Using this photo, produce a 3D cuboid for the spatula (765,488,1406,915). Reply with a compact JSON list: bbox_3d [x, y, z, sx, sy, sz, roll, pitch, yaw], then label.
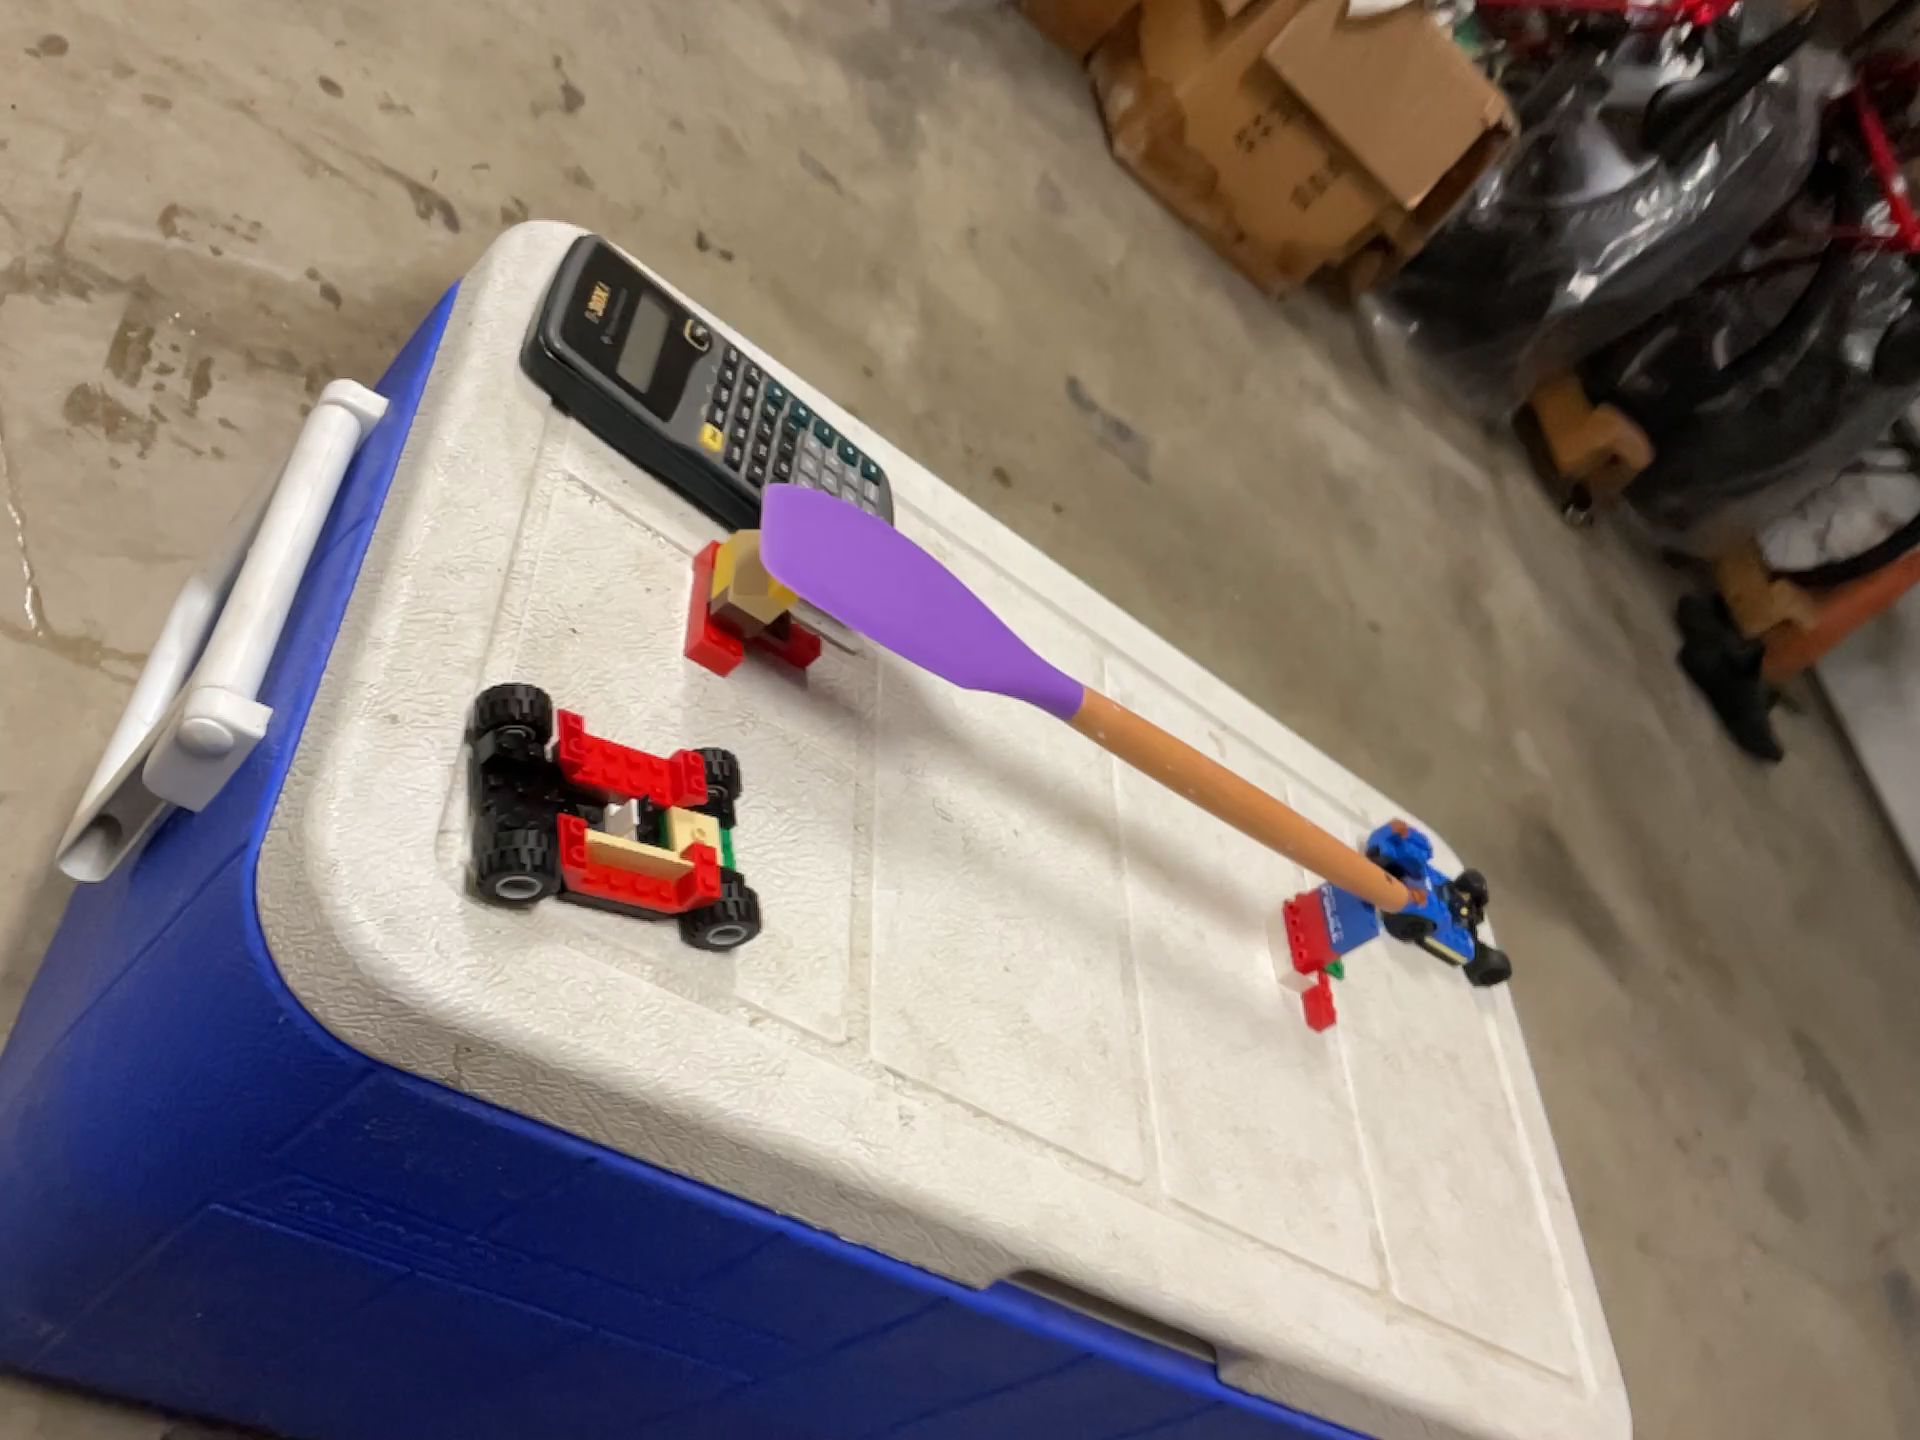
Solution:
[{"bbox_3d":[0.059,0.004,0.574,0.316,0.018,0.060,30,39,-30],"label":"spatula"}]
